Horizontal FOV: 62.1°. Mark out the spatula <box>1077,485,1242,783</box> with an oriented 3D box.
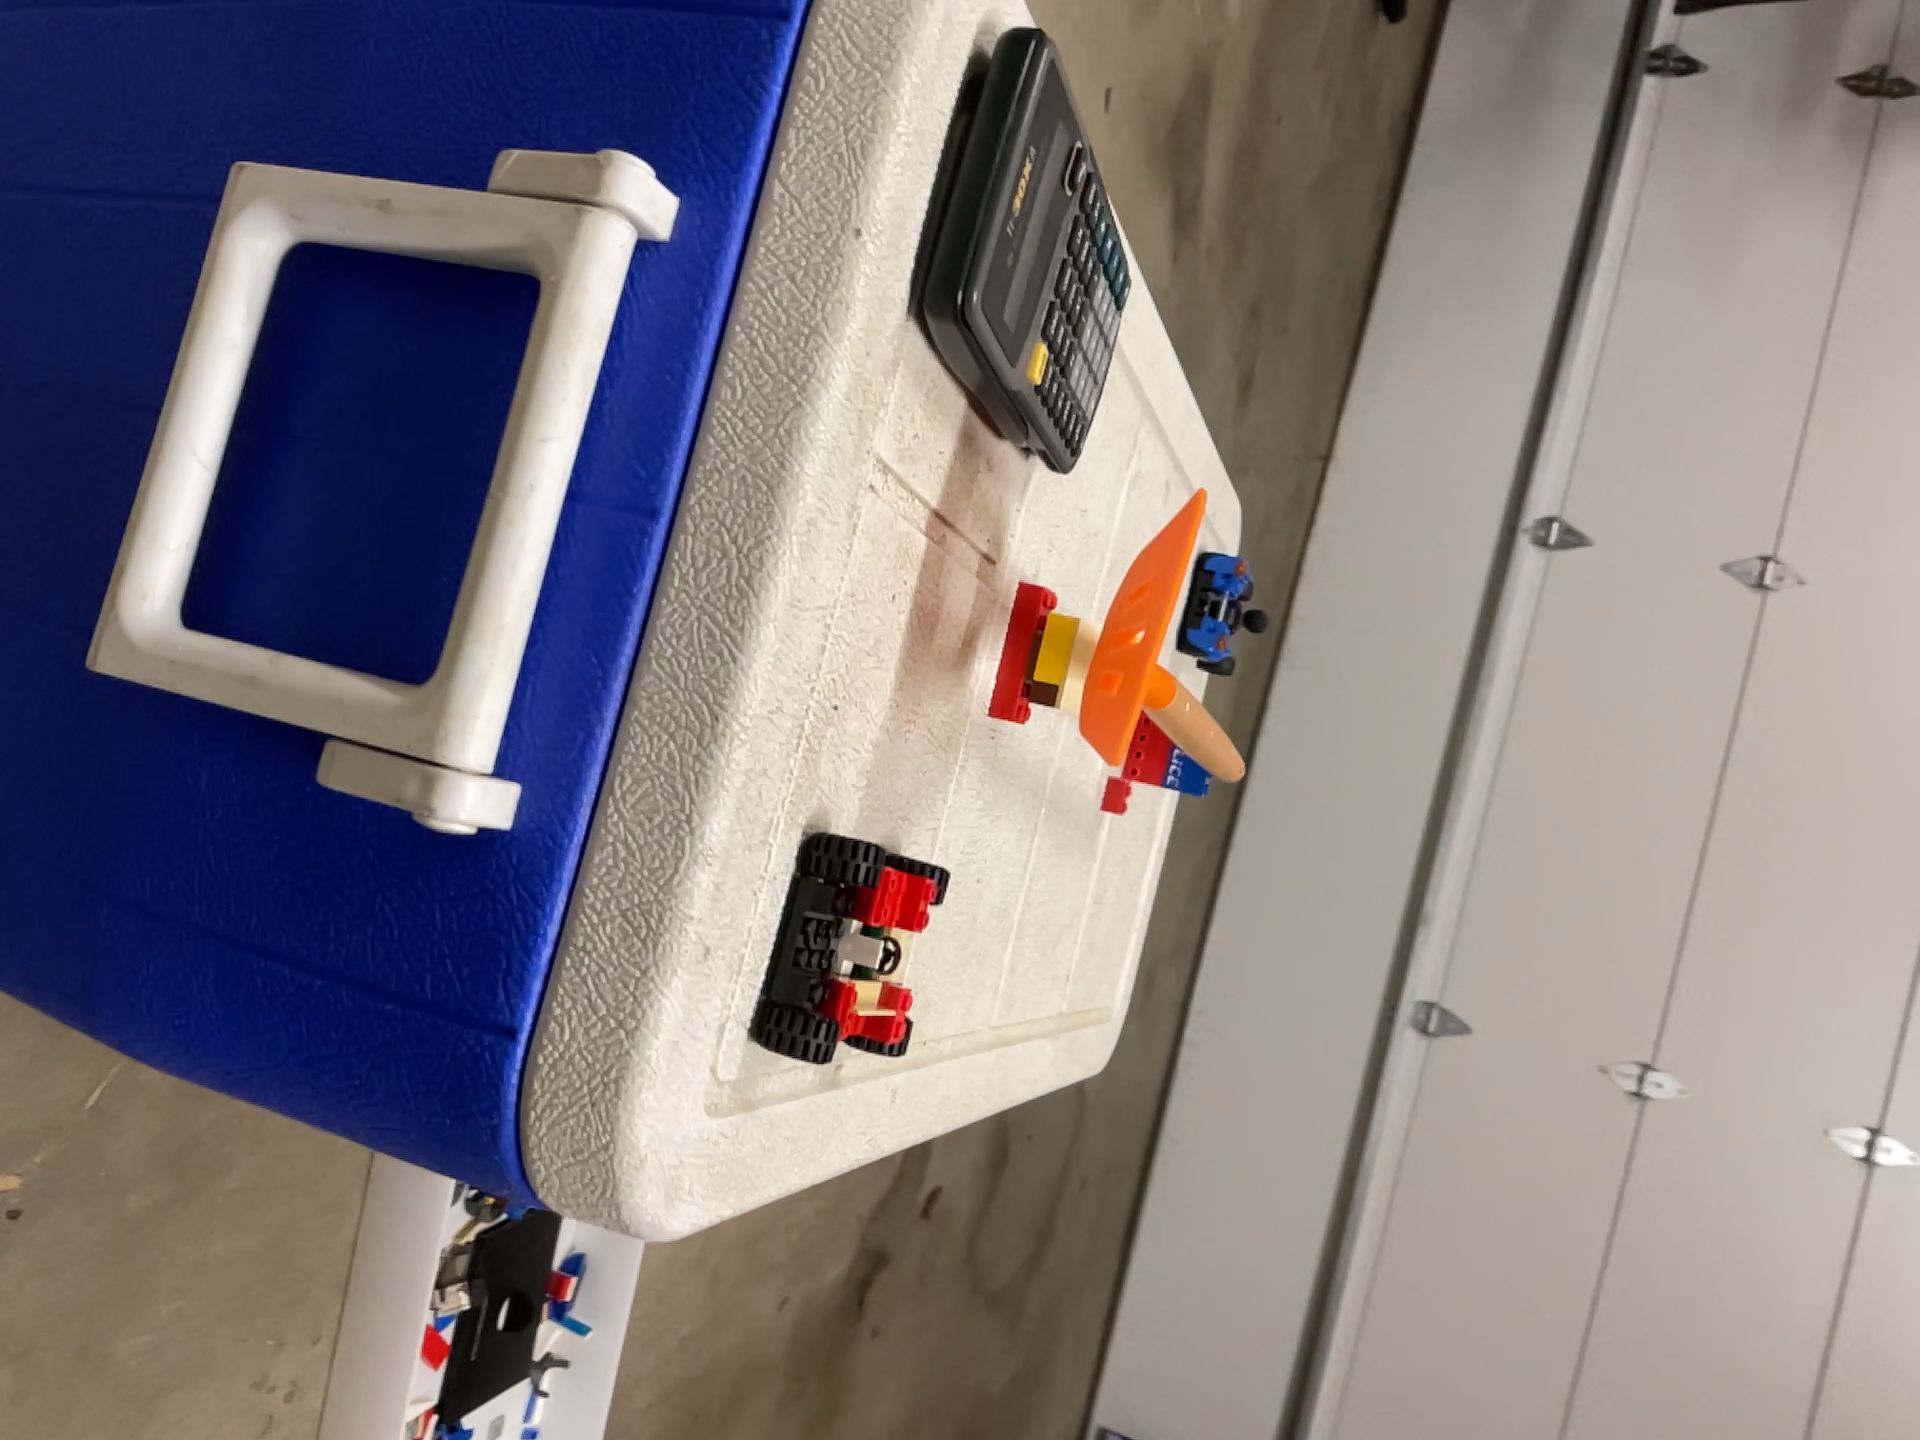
[{"bbox_3d":[0.083,-0.003,0.578,0.322,0.041,0.081,31,77,-70],"label":"spatula"}]
